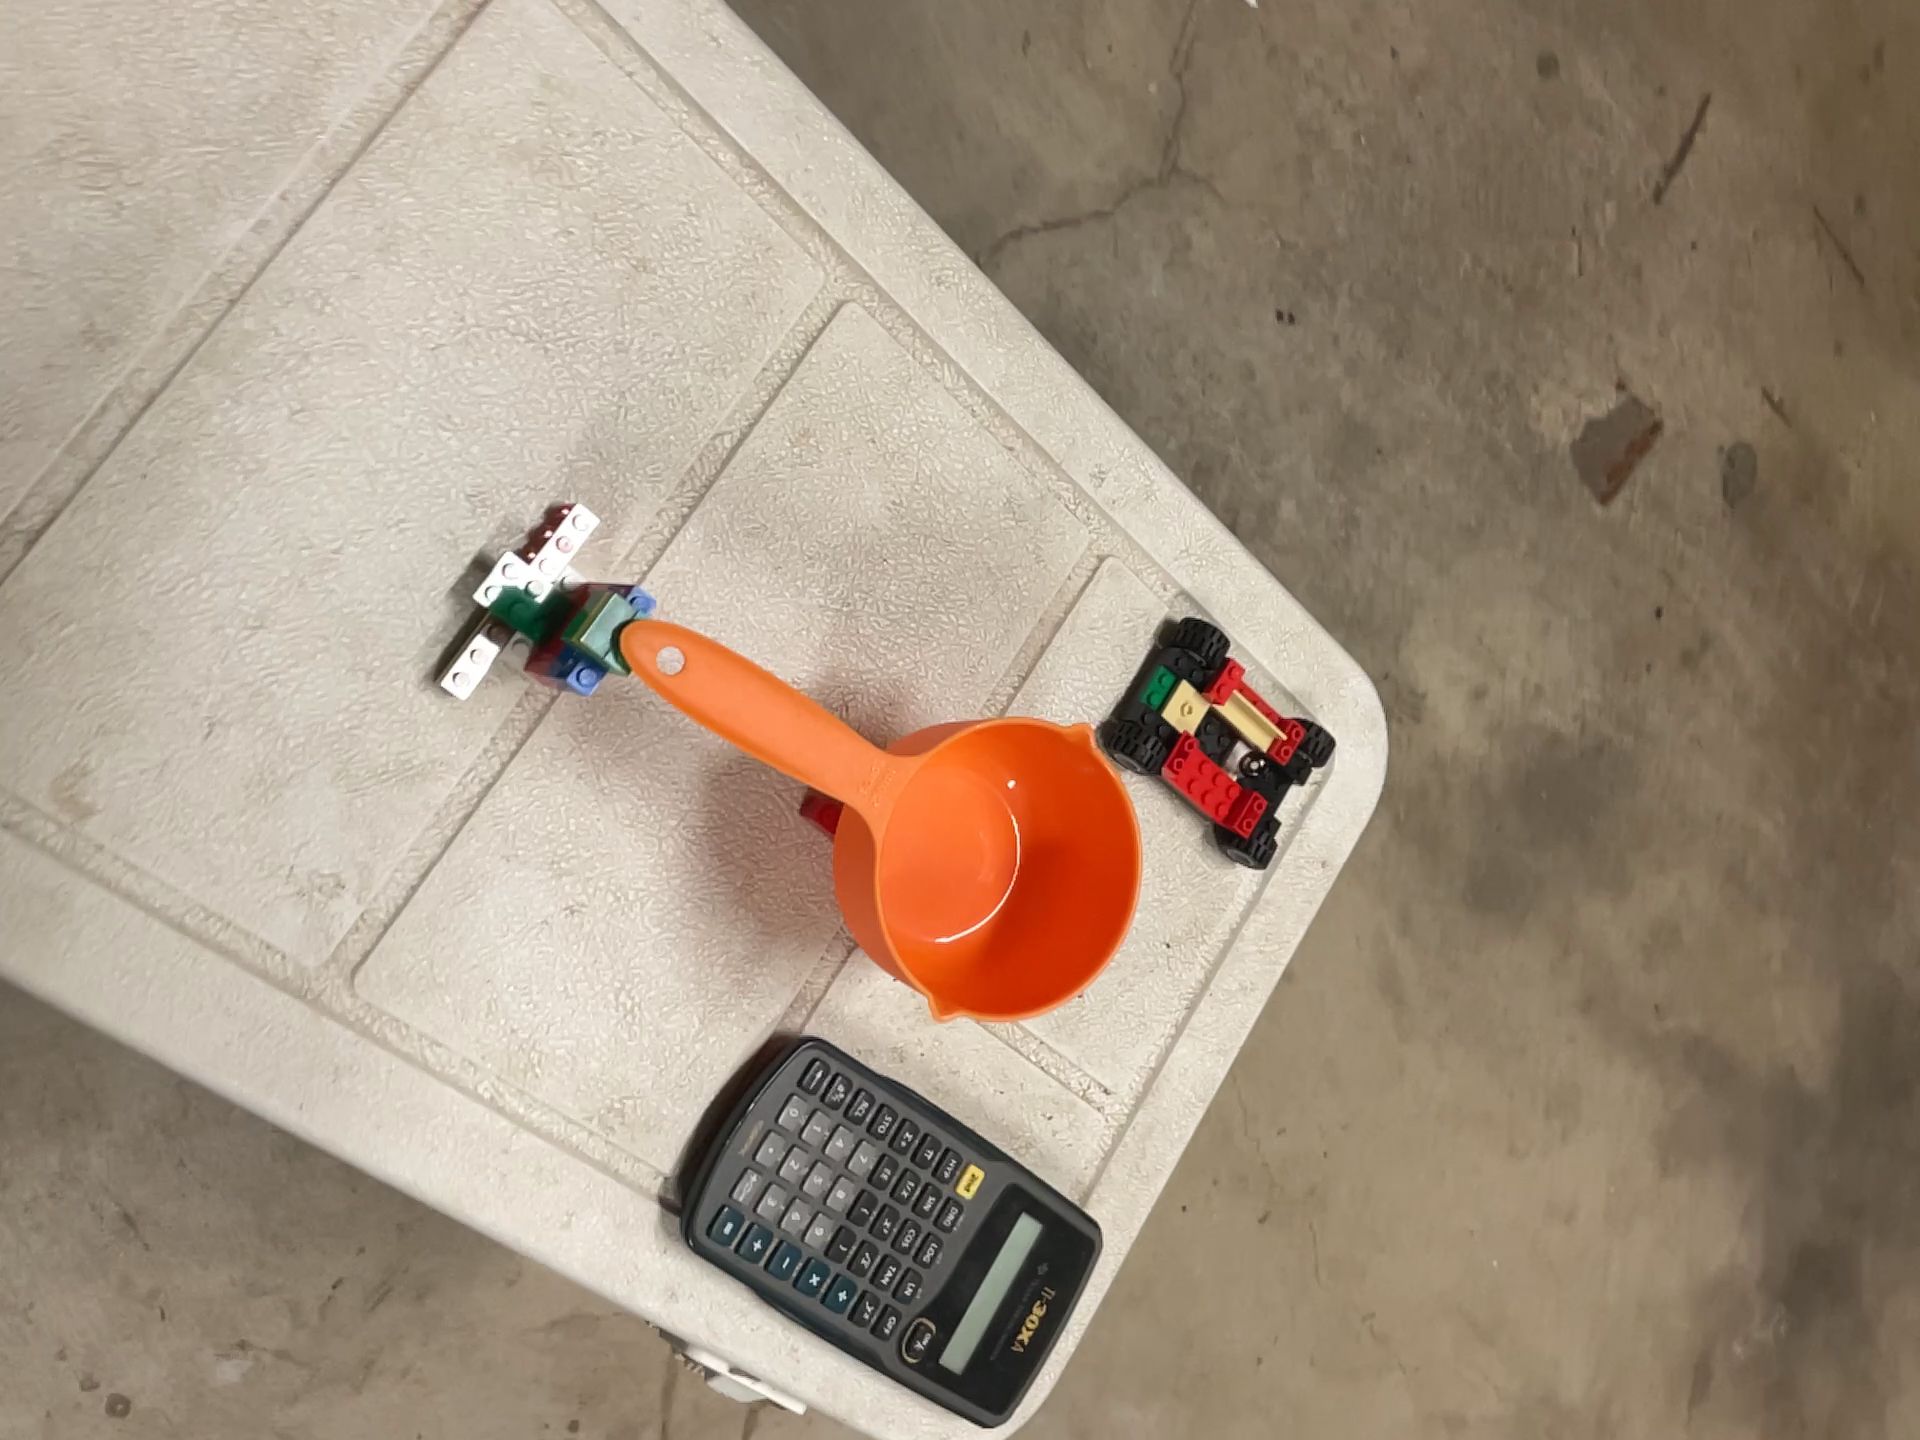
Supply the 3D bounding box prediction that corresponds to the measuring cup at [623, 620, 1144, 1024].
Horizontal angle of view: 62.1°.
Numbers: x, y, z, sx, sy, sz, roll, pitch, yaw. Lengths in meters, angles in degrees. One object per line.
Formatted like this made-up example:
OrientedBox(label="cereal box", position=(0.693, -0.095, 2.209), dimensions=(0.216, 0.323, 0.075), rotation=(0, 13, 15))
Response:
OrientedBox(label="measuring cup", position=(-0.028, 0.021, 0.459), dimensions=(0.173, 0.052, 0.095), rotation=(33, 77, -23))
